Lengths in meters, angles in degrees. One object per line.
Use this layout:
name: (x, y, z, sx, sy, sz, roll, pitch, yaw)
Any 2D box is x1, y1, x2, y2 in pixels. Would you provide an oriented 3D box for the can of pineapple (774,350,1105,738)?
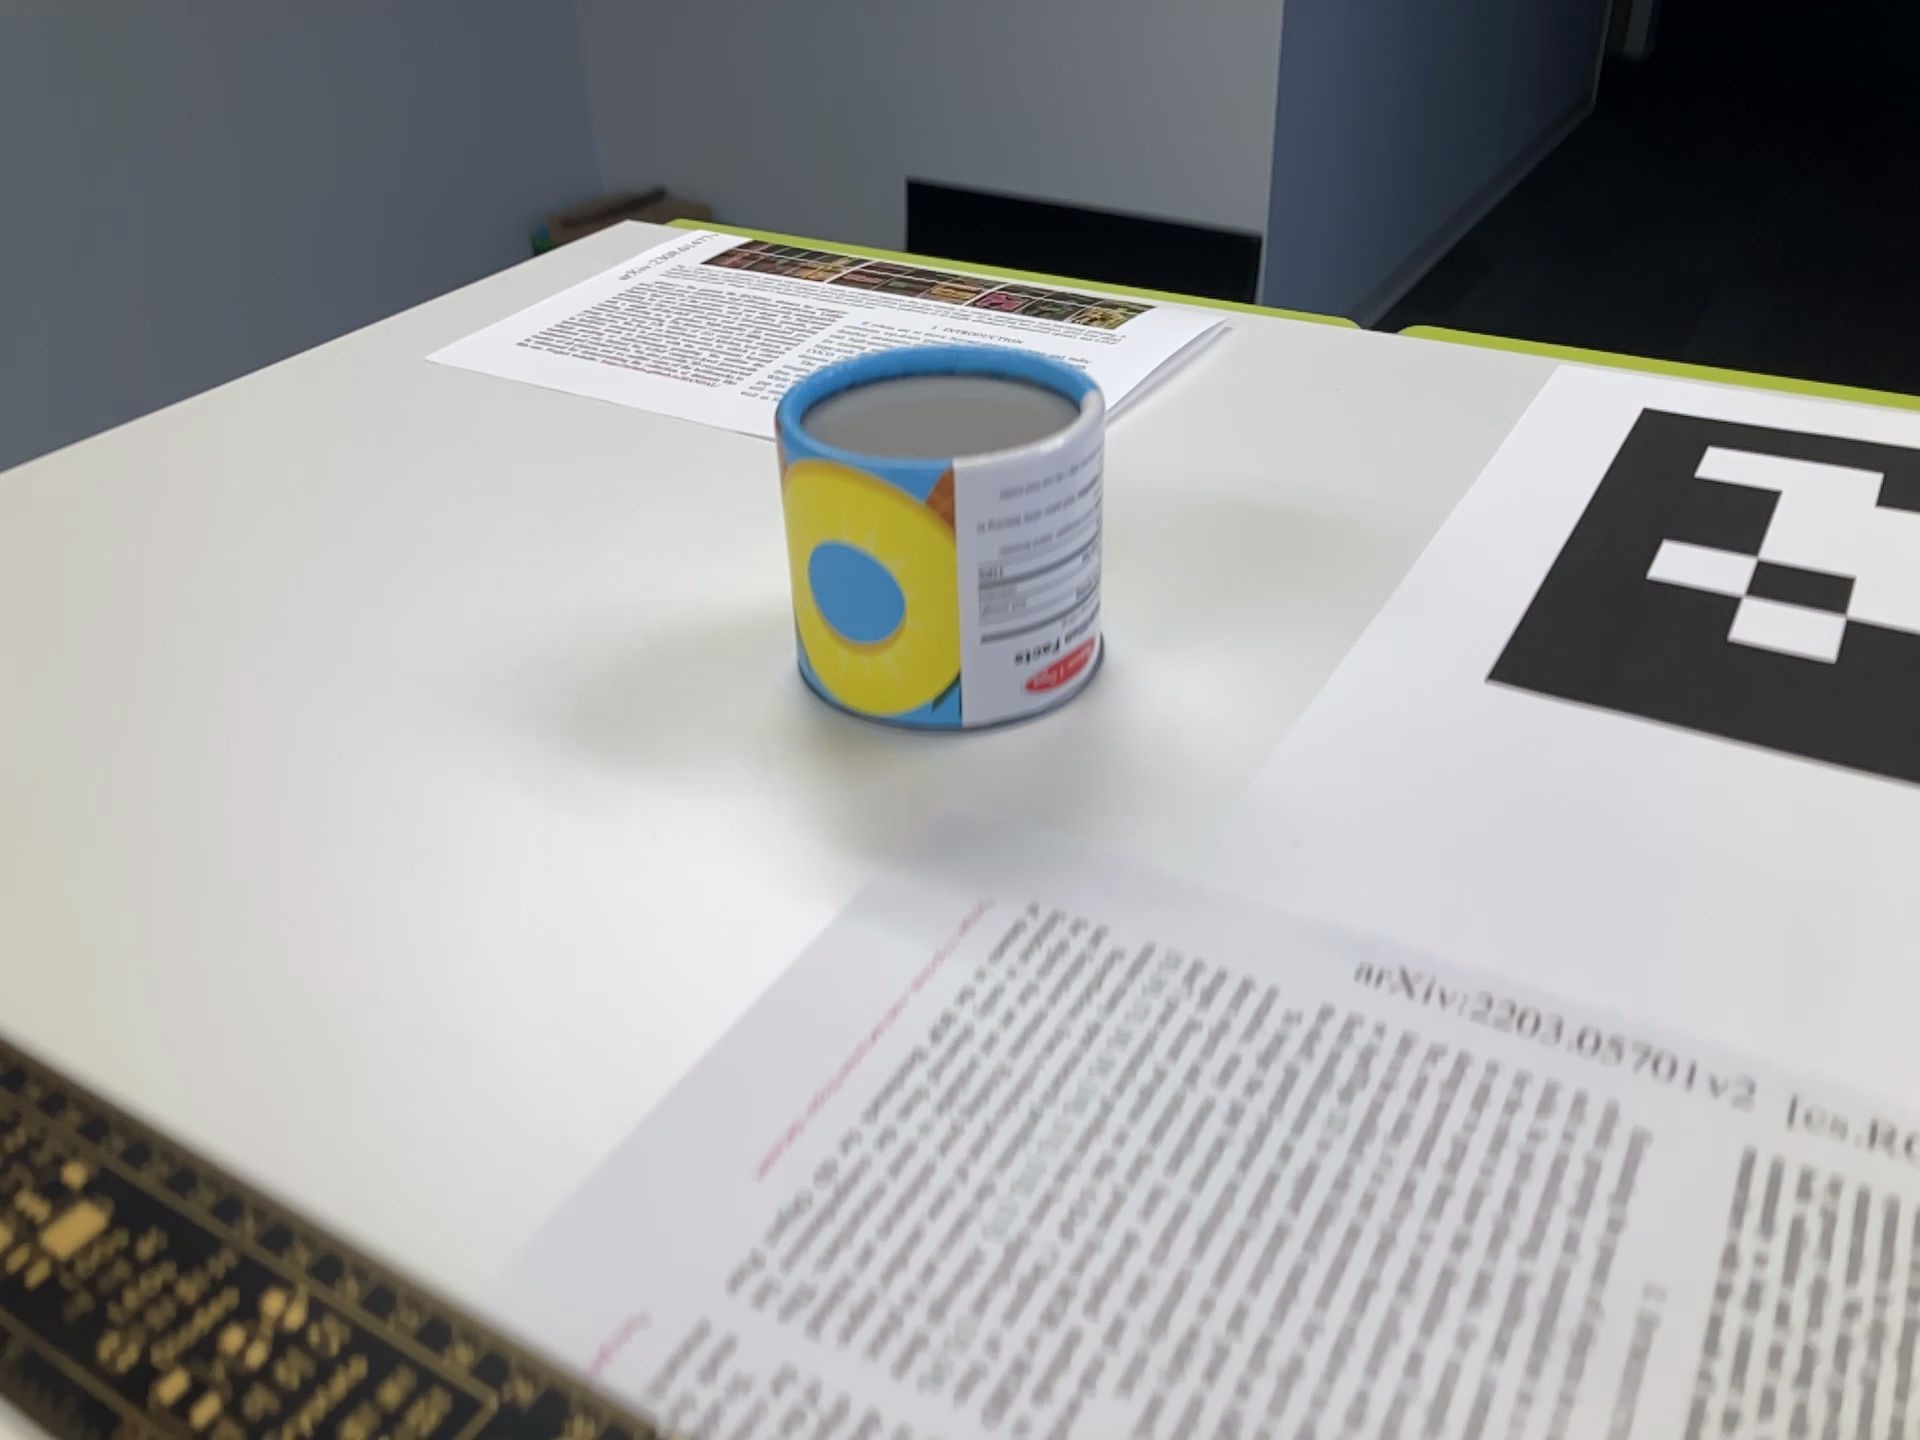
can of pineapple: (-0.005, -0.039, 0.329, 0.071, 0.058, 0.071, -2, 33, 1)
